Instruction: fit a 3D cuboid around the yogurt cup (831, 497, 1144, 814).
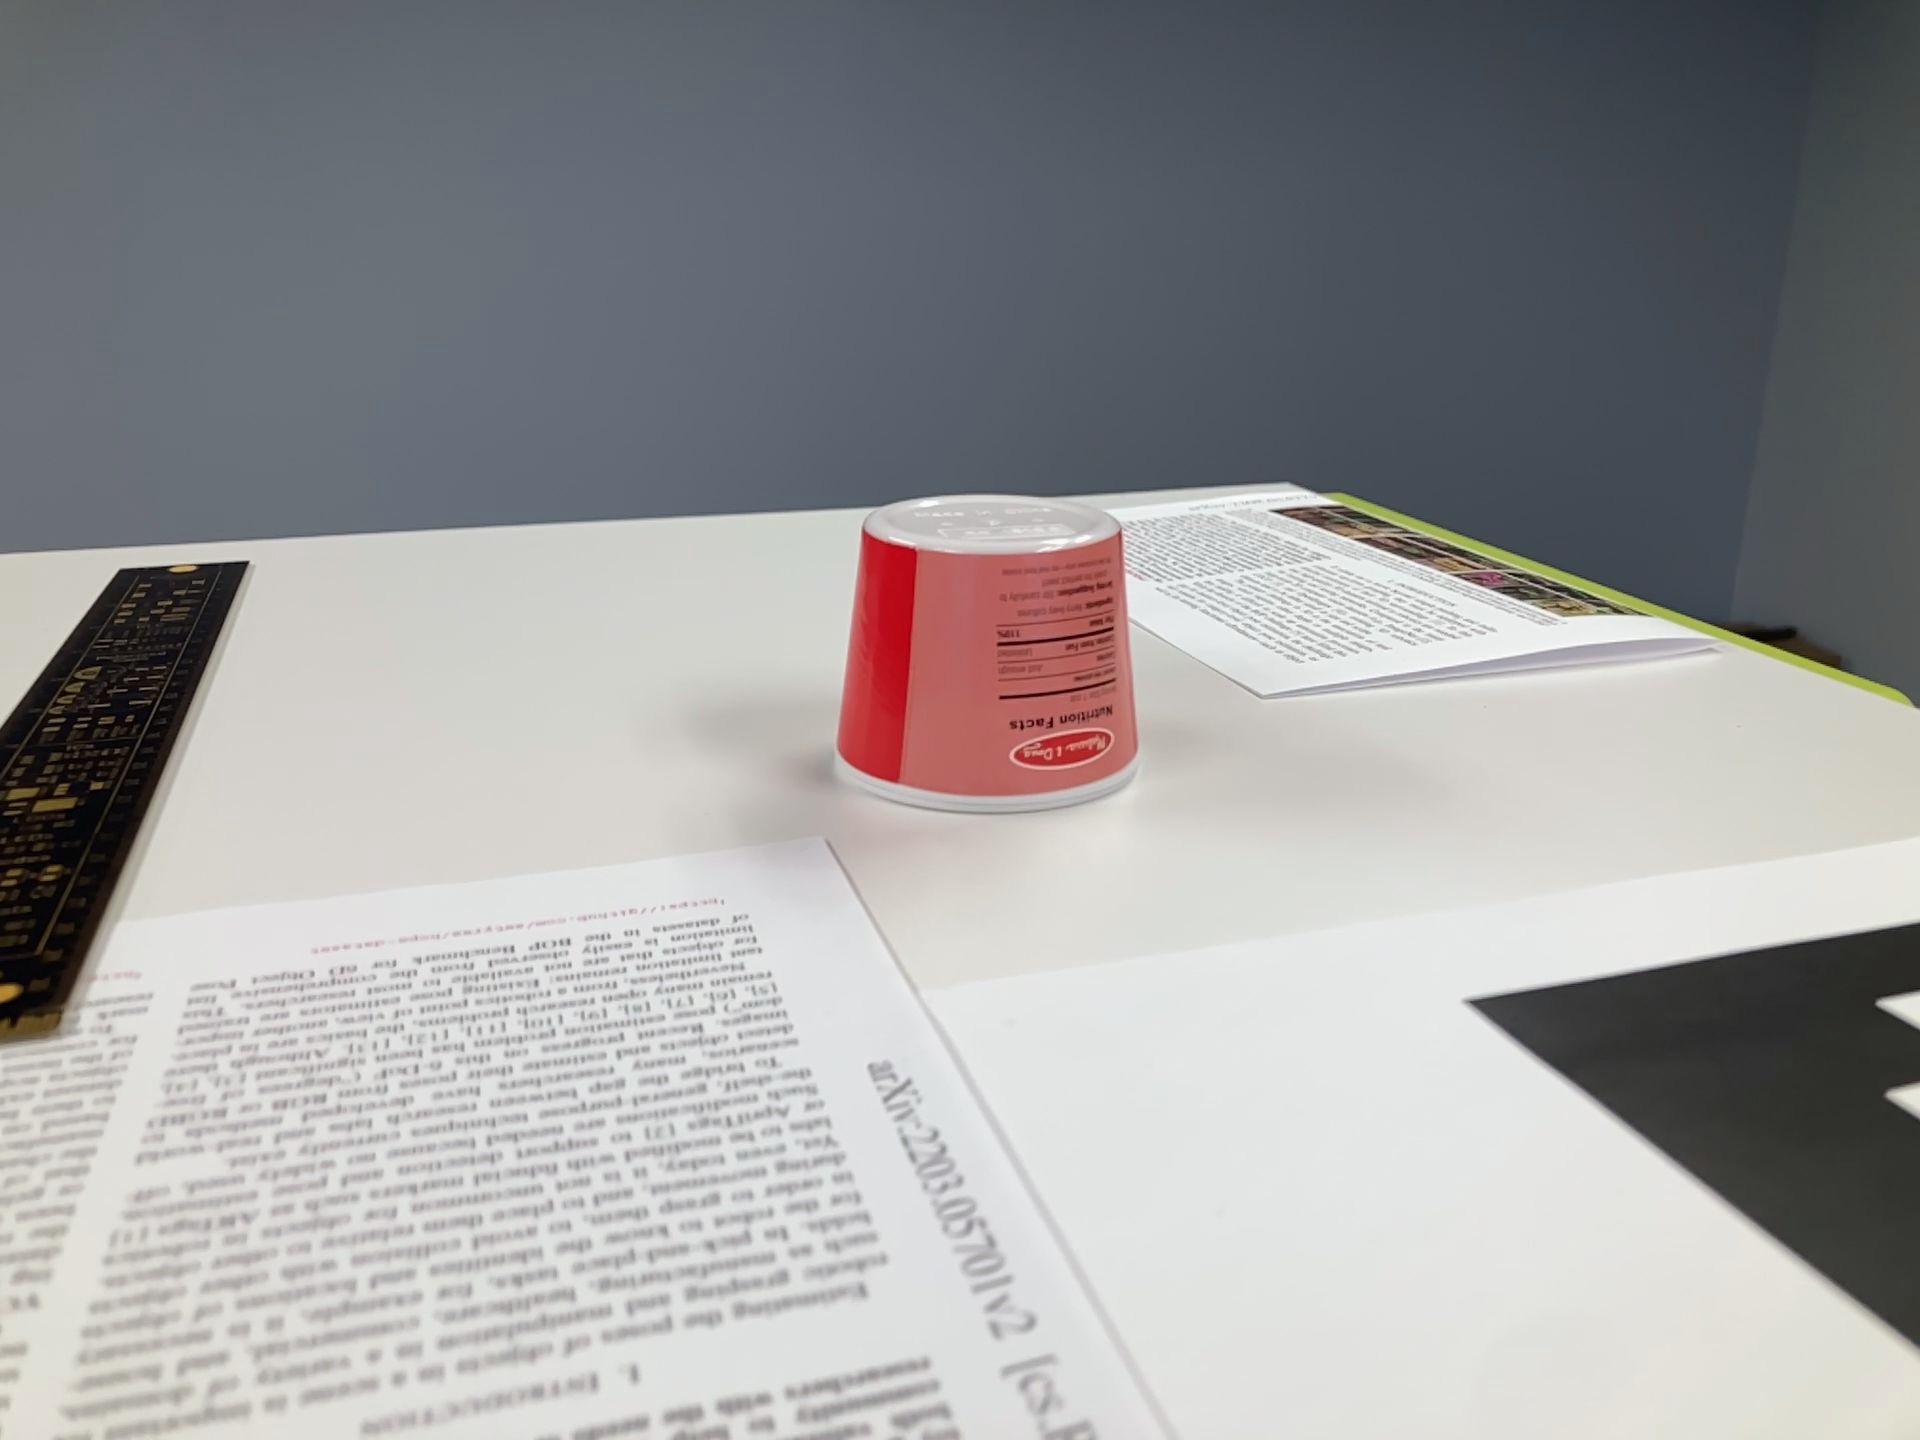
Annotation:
[{"bbox_3d":[0.006,-0.017,0.338,0.072,0.054,0.072,1,18,0],"label":"yogurt cup"}]
